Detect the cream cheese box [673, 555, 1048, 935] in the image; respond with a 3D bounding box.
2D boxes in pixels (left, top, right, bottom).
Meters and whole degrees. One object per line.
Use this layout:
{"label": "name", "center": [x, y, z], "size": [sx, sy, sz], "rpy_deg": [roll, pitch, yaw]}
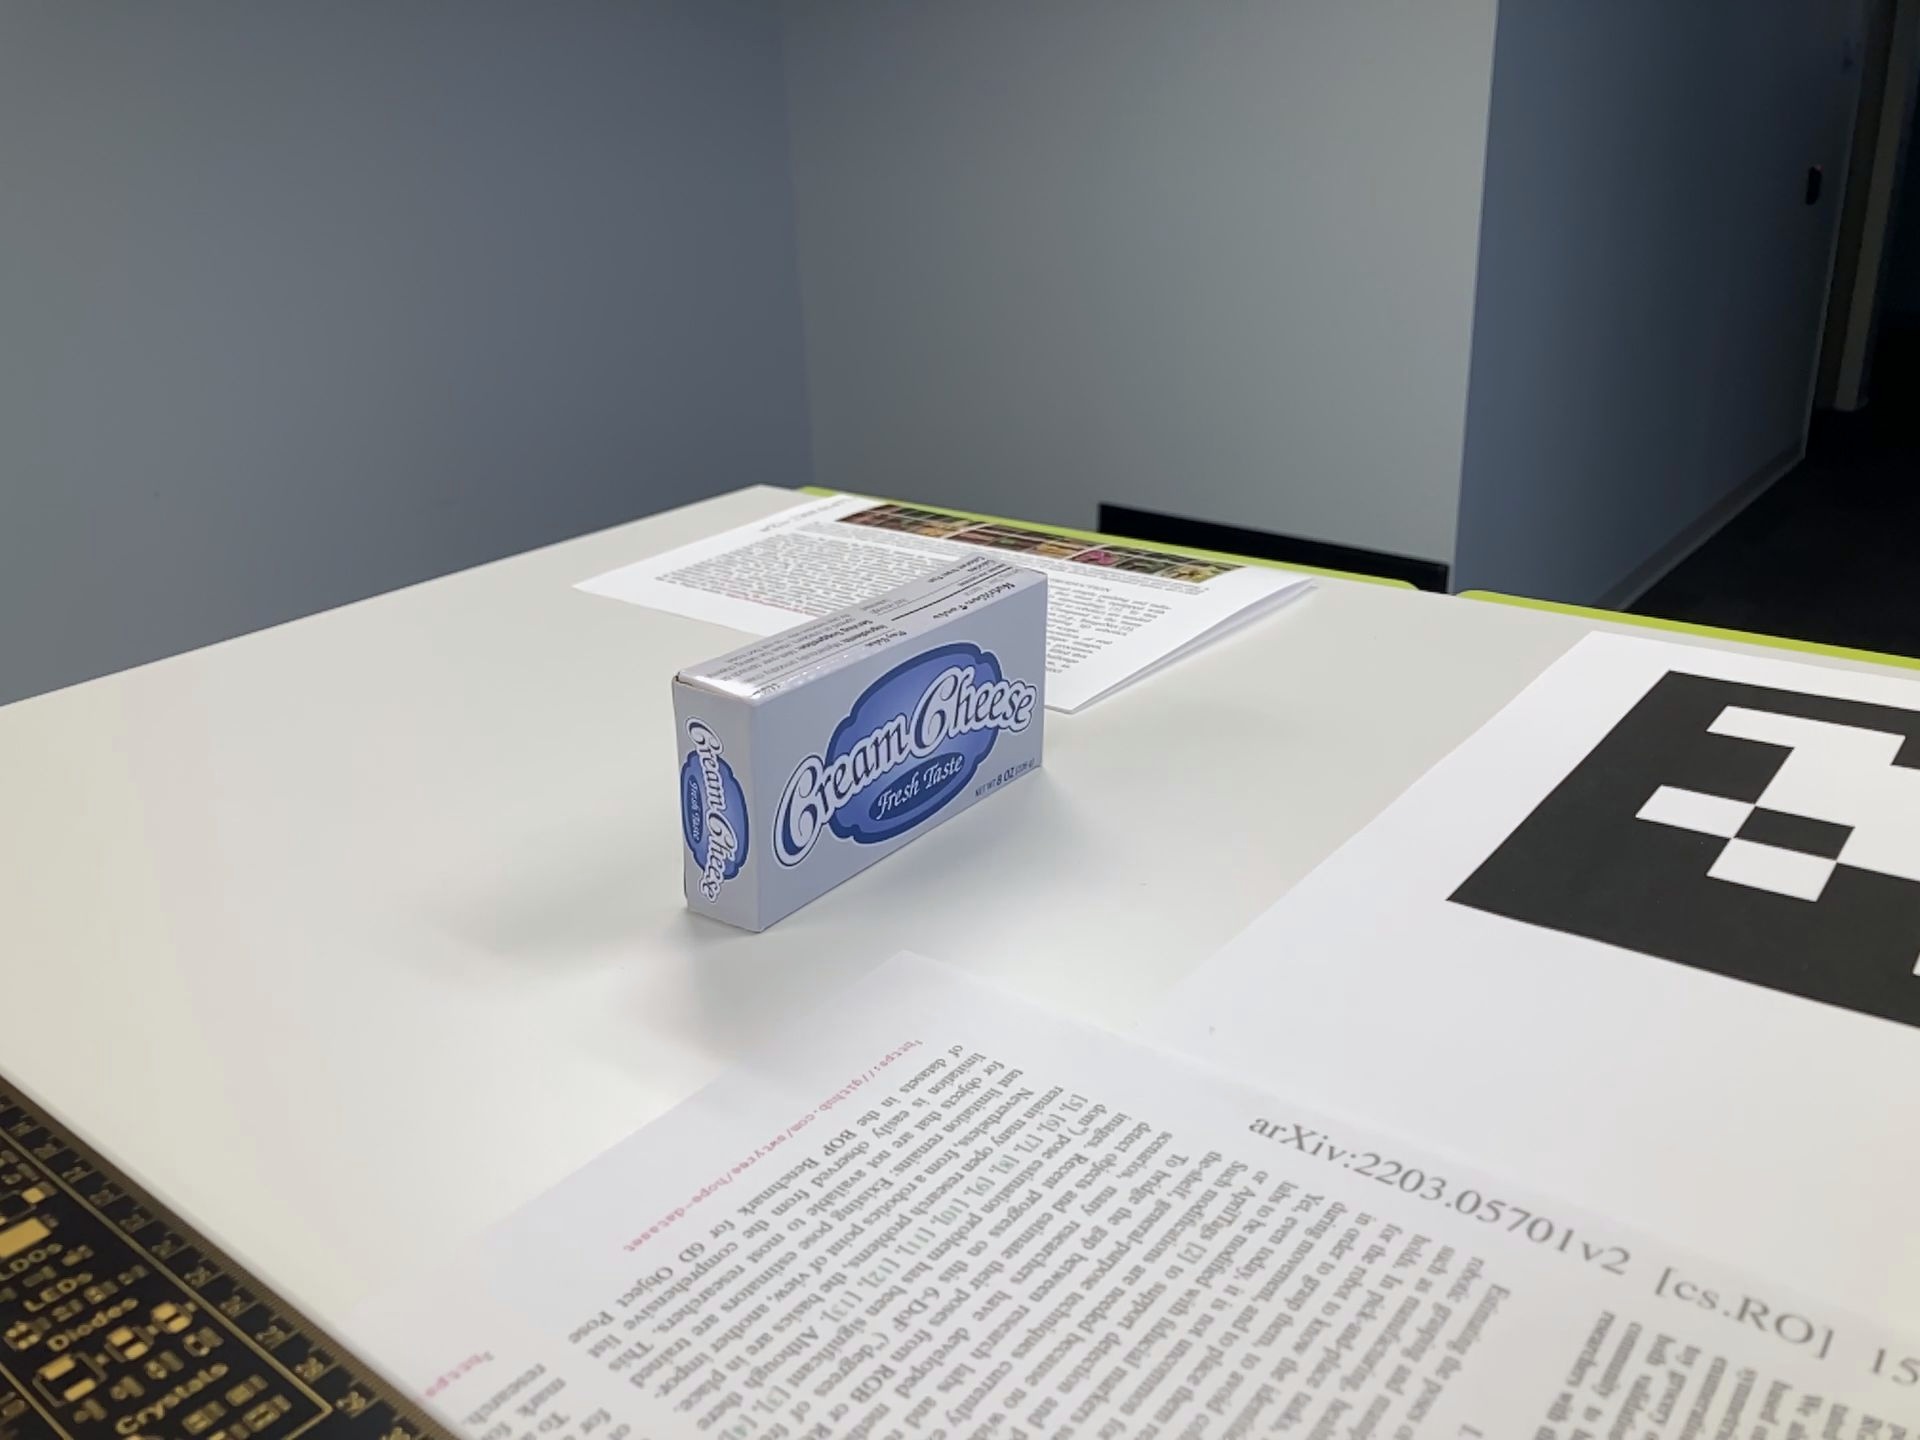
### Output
{"label": "cream cheese box", "center": [-0.019, 0.002, 0.356], "size": [0.024, 0.053, 0.104], "rpy_deg": [16, 28, 34]}
